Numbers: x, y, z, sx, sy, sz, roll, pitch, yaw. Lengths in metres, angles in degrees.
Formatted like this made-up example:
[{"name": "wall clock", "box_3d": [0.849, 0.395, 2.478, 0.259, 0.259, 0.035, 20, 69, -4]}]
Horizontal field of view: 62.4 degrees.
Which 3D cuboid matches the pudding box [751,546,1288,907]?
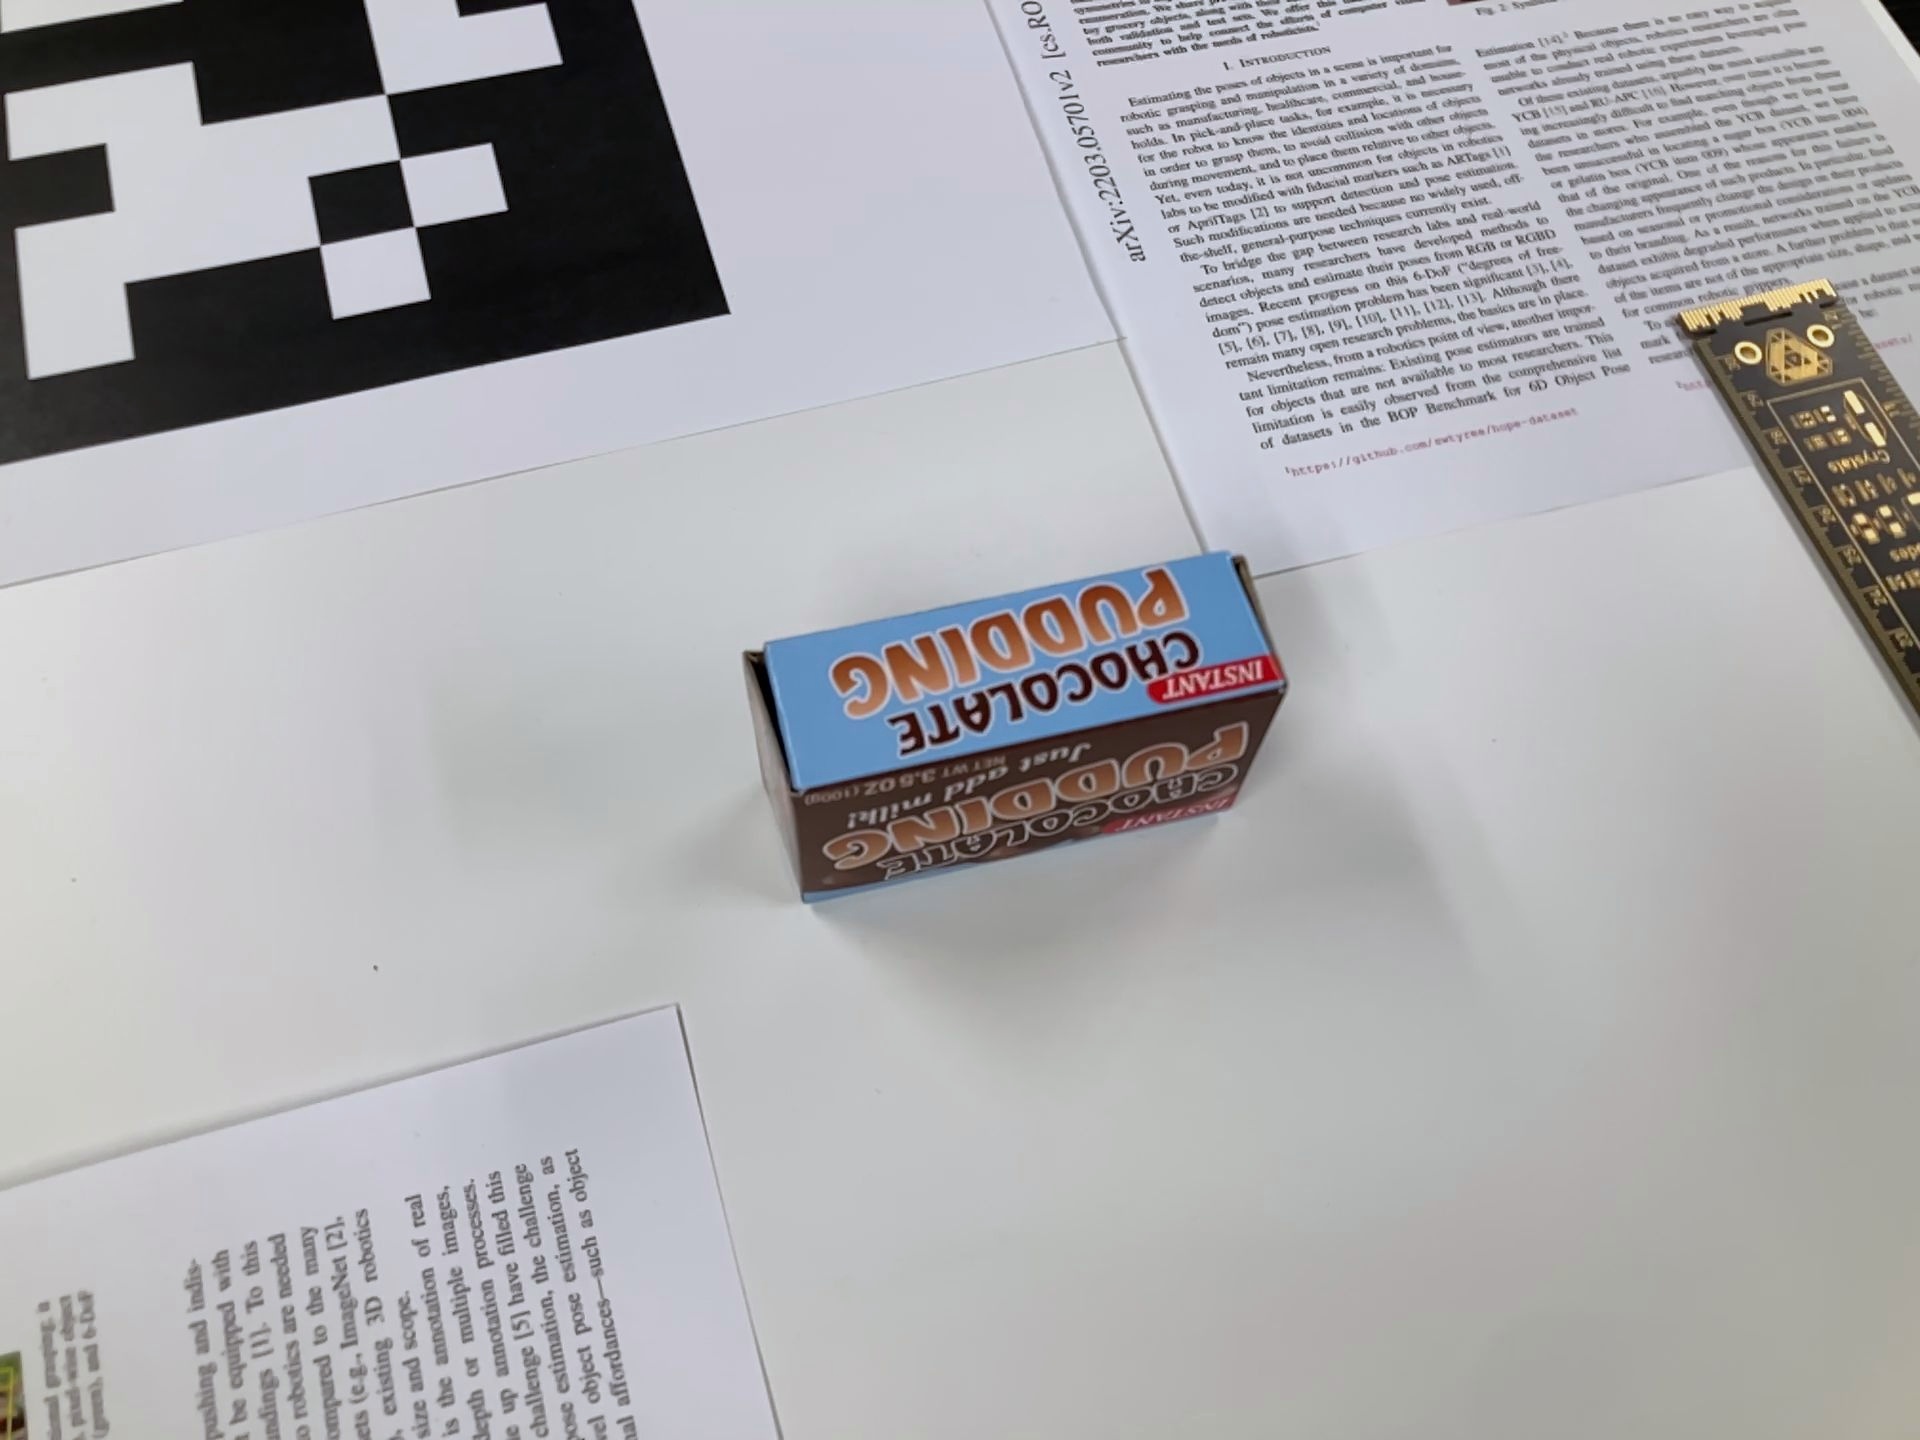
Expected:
[{"name": "pudding box", "box_3d": [0.009, 0.002, 0.275, 0.083, 0.049, 0.030, -12, 64, -9]}]
